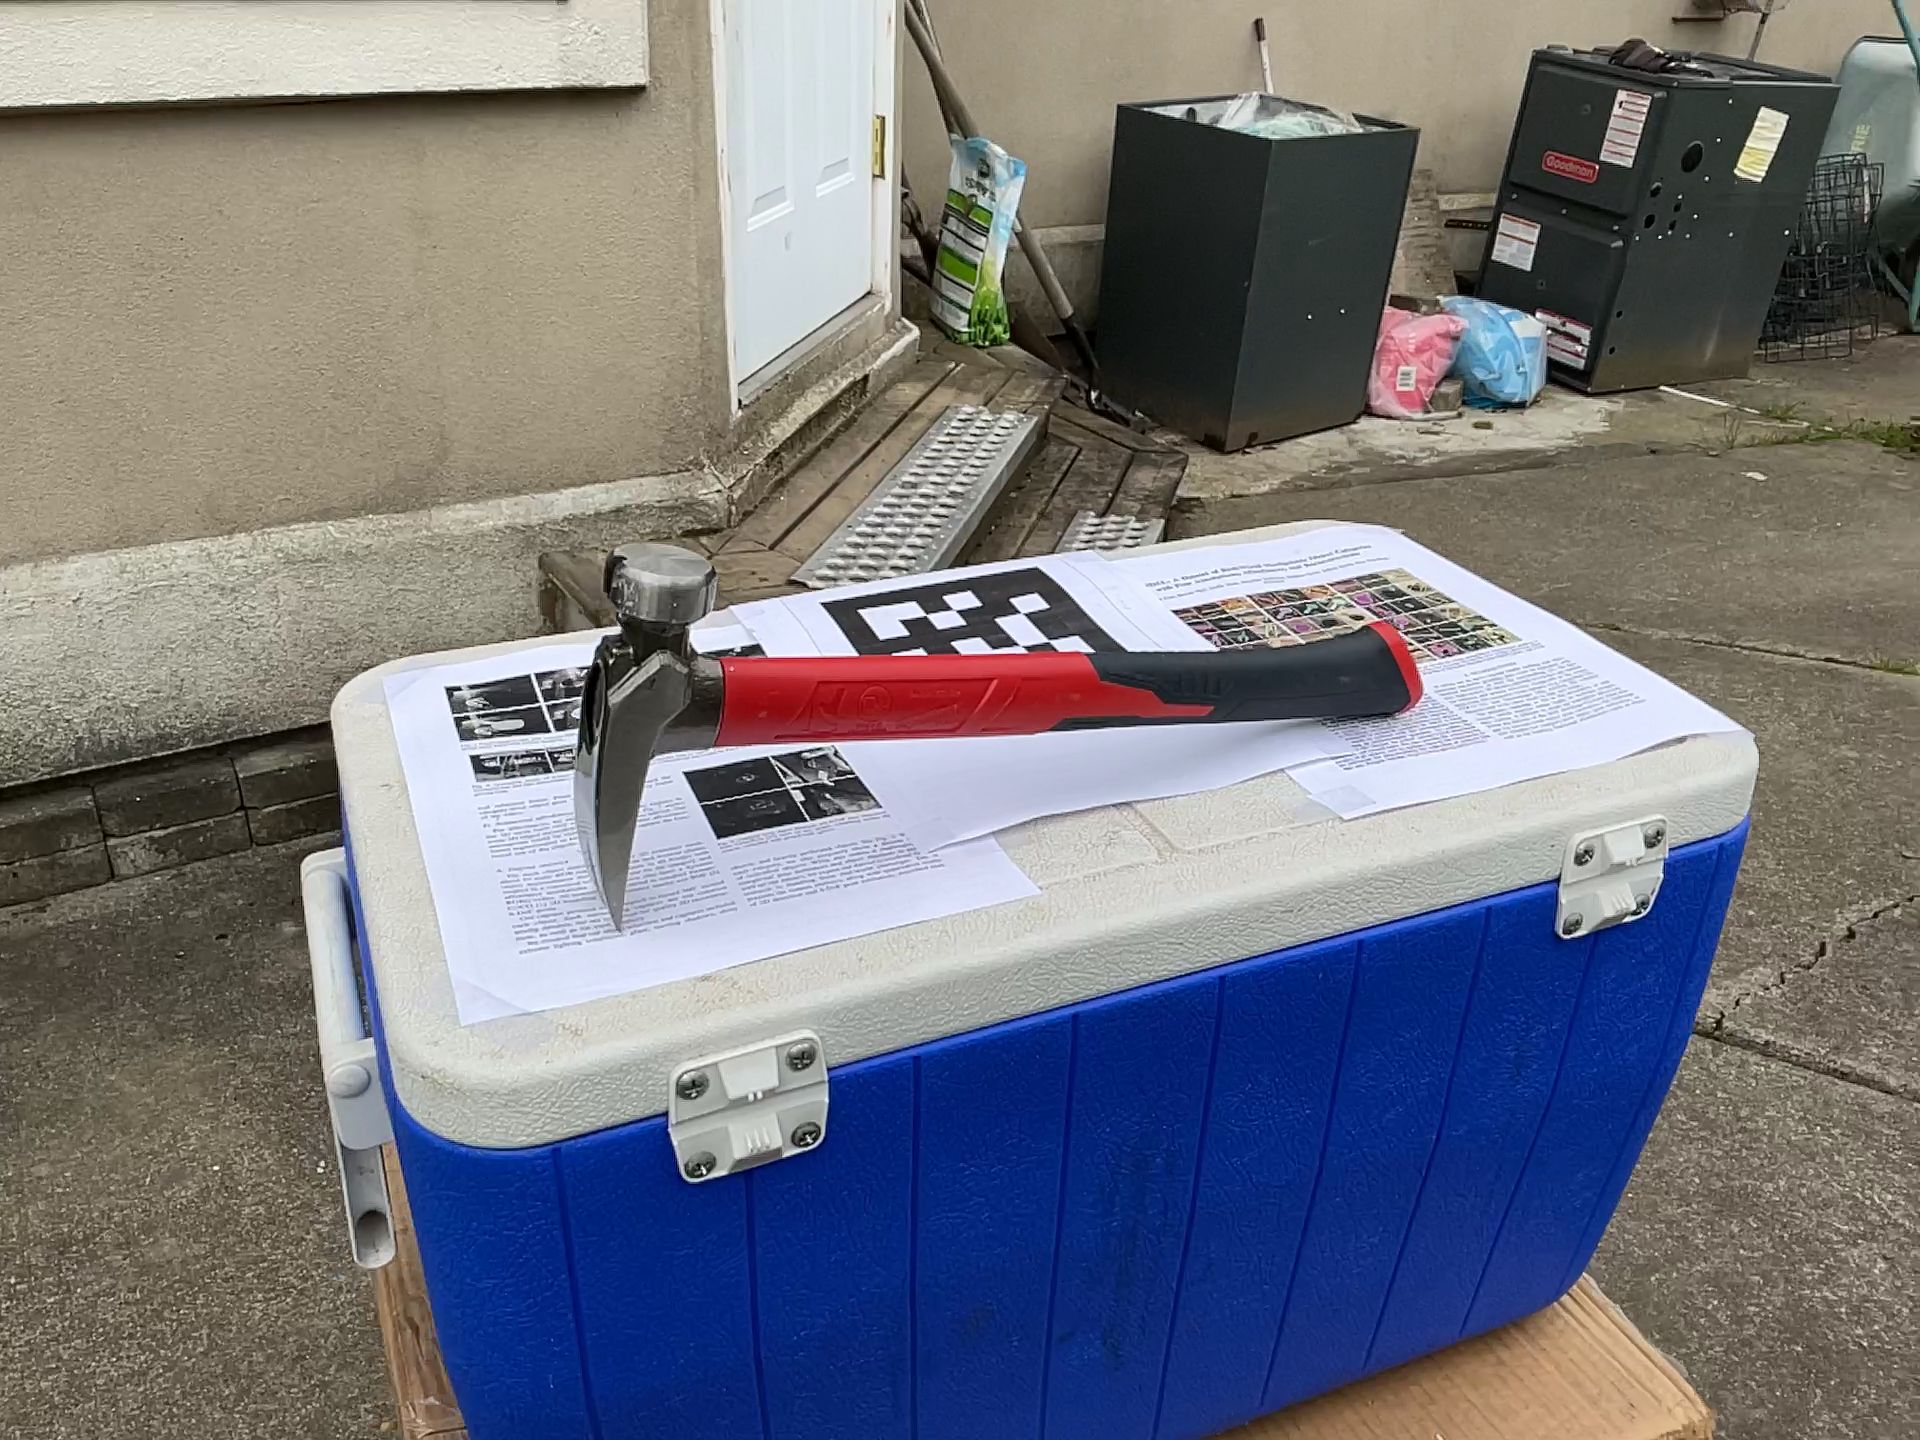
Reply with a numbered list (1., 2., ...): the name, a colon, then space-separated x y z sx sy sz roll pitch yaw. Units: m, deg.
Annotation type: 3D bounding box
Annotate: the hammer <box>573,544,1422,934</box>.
1. hammer: 0.035 0.003 0.661 0.386 0.143 0.038 -2 27 -30
